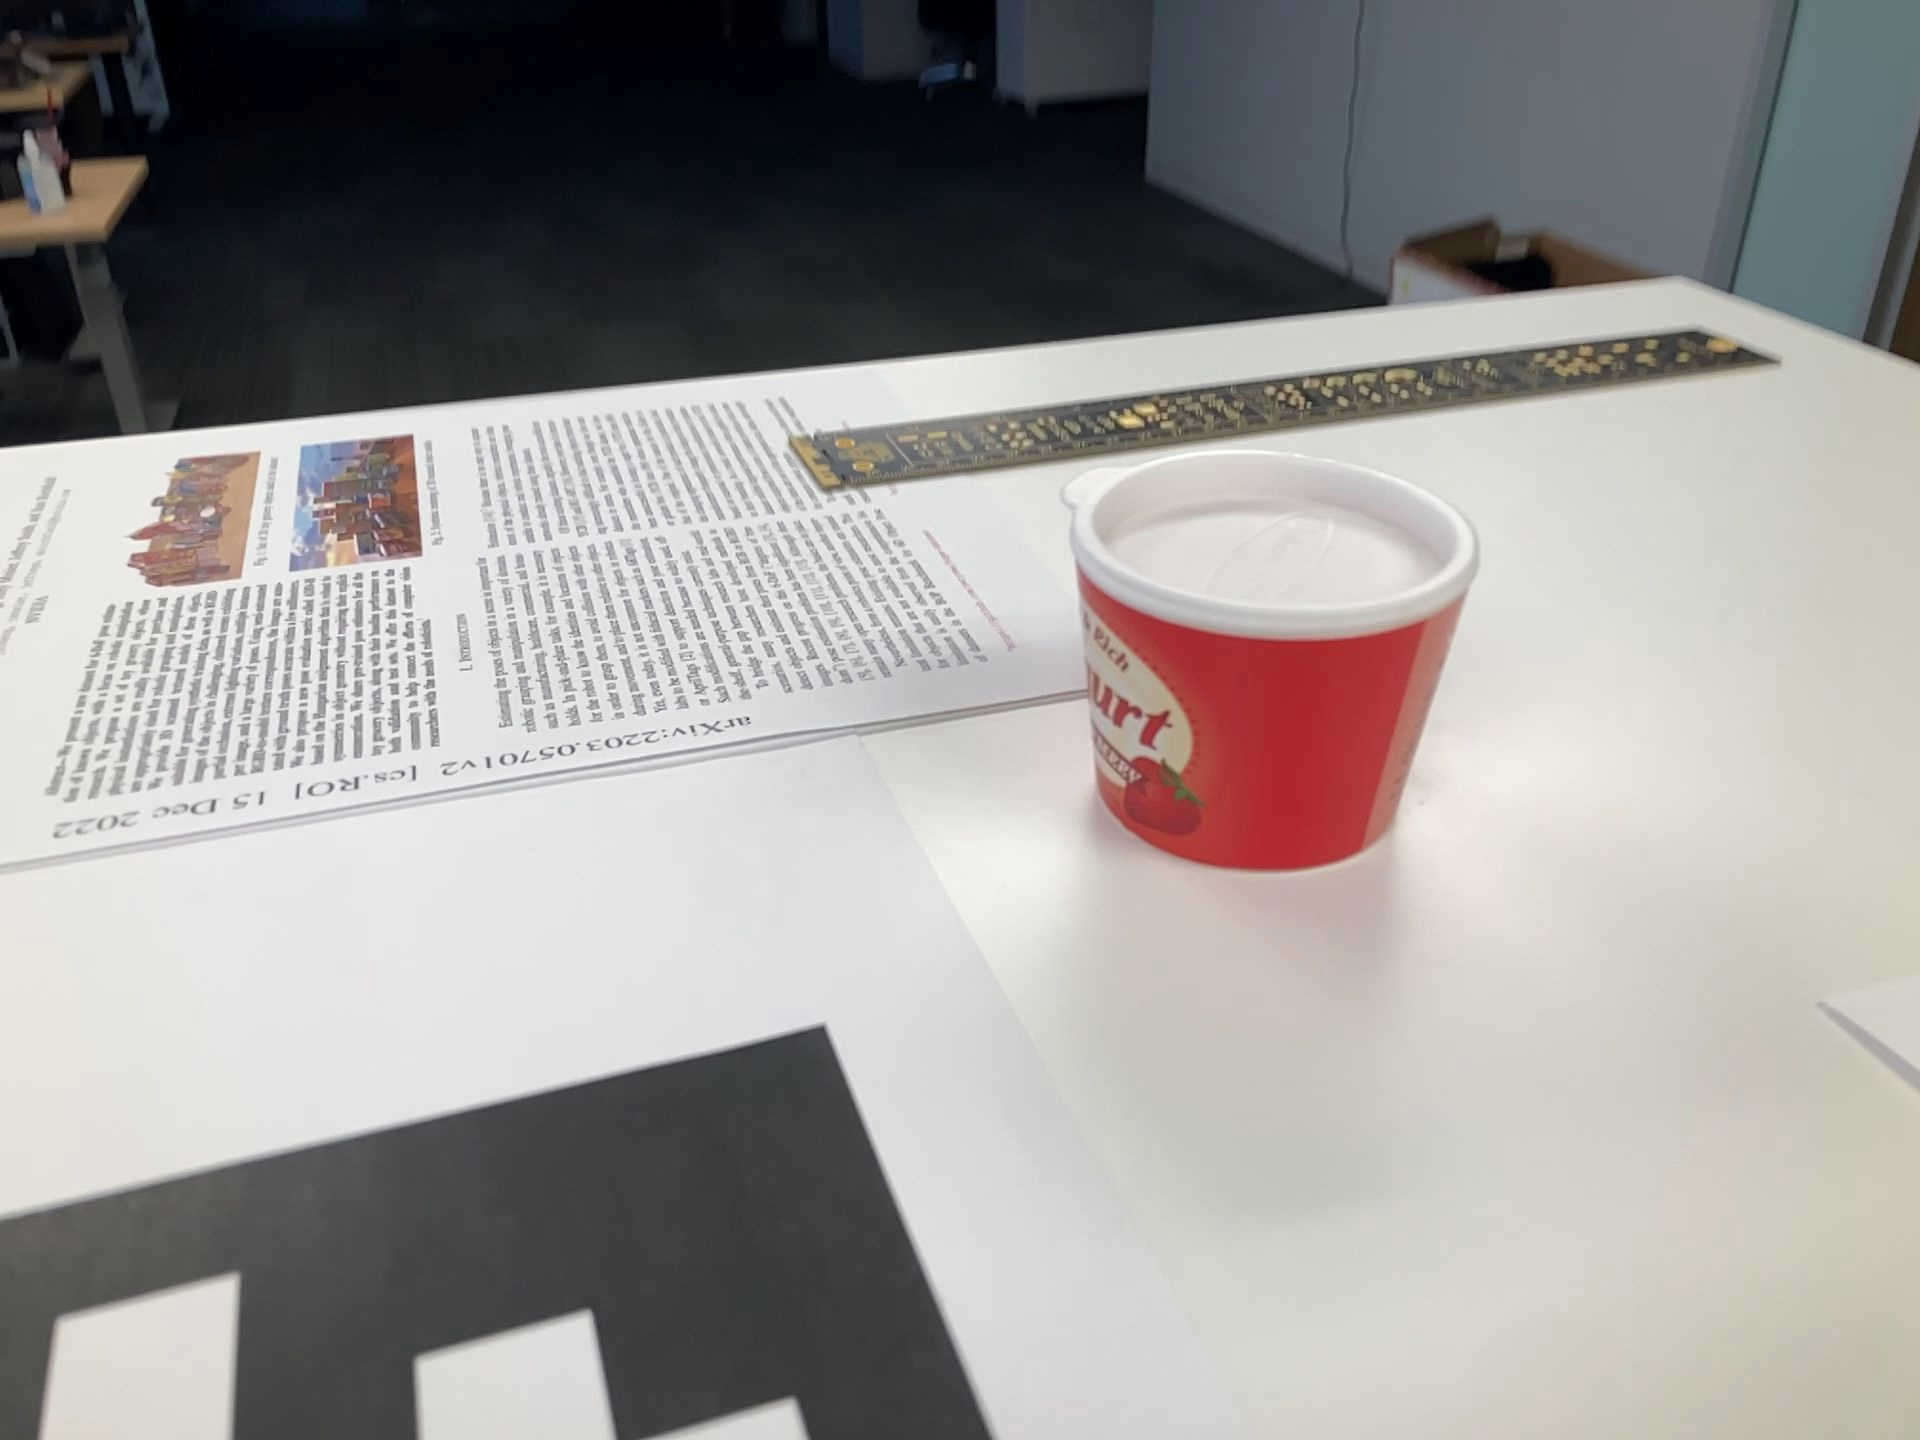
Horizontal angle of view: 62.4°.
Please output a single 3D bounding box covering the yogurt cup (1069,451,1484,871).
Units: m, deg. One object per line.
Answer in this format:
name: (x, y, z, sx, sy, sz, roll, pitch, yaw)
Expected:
yogurt cup: (0.052, -0.011, 0.277, 0.072, 0.054, 0.072, 1, 31, 0)
